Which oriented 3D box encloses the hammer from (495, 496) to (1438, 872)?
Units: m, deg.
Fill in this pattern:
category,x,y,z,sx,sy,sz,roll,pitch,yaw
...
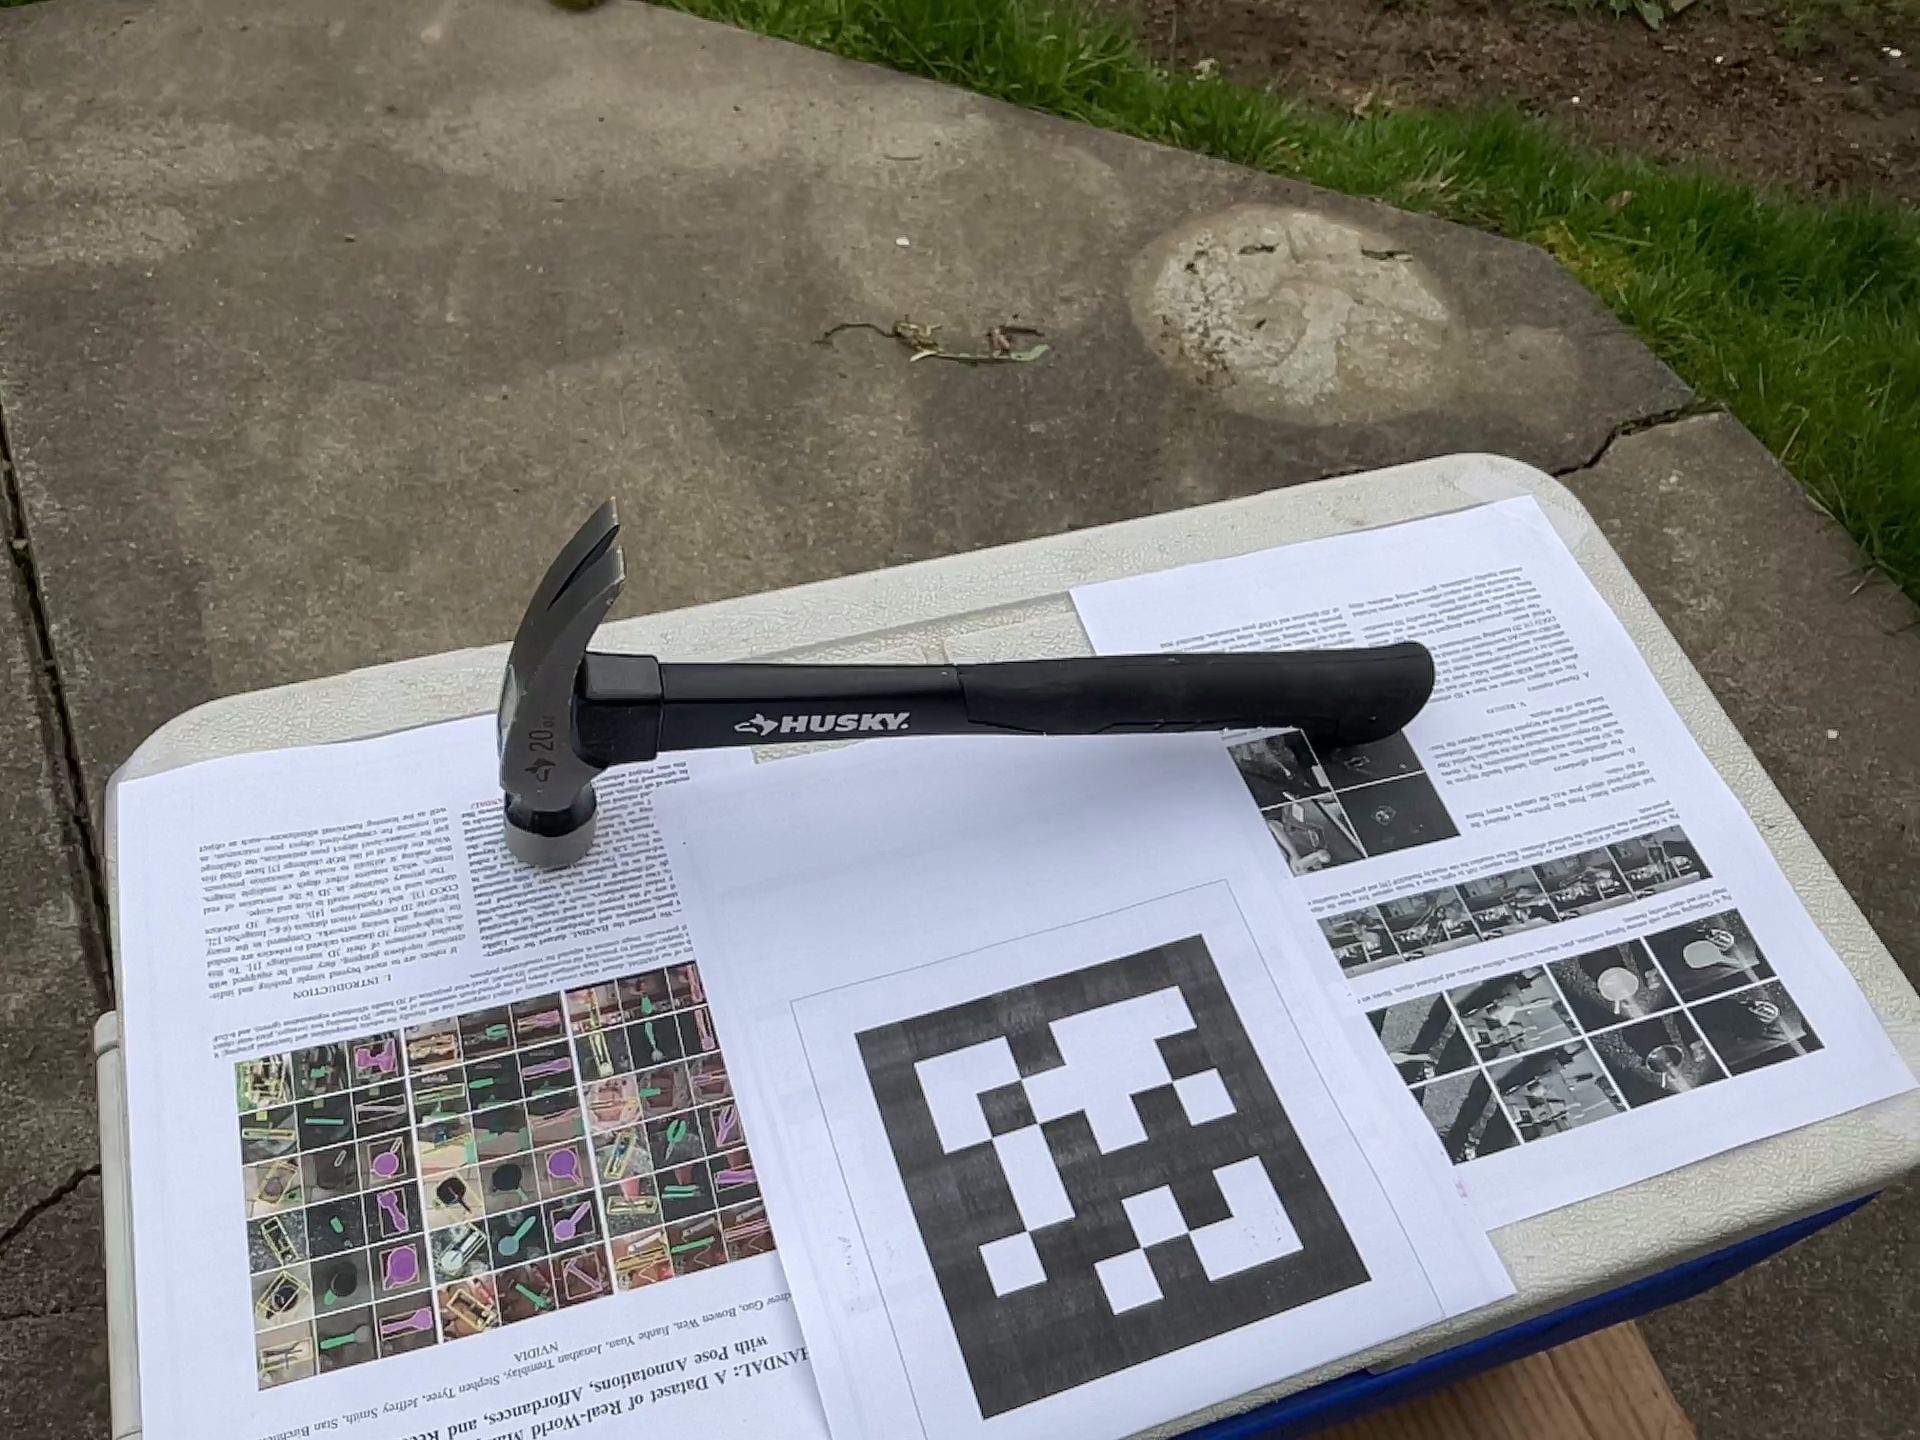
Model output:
category,x,y,z,sx,sy,sz,roll,pitch,yaw
hammer,0.014,-0.010,0.551,0.334,0.146,0.035,-2,51,-18
